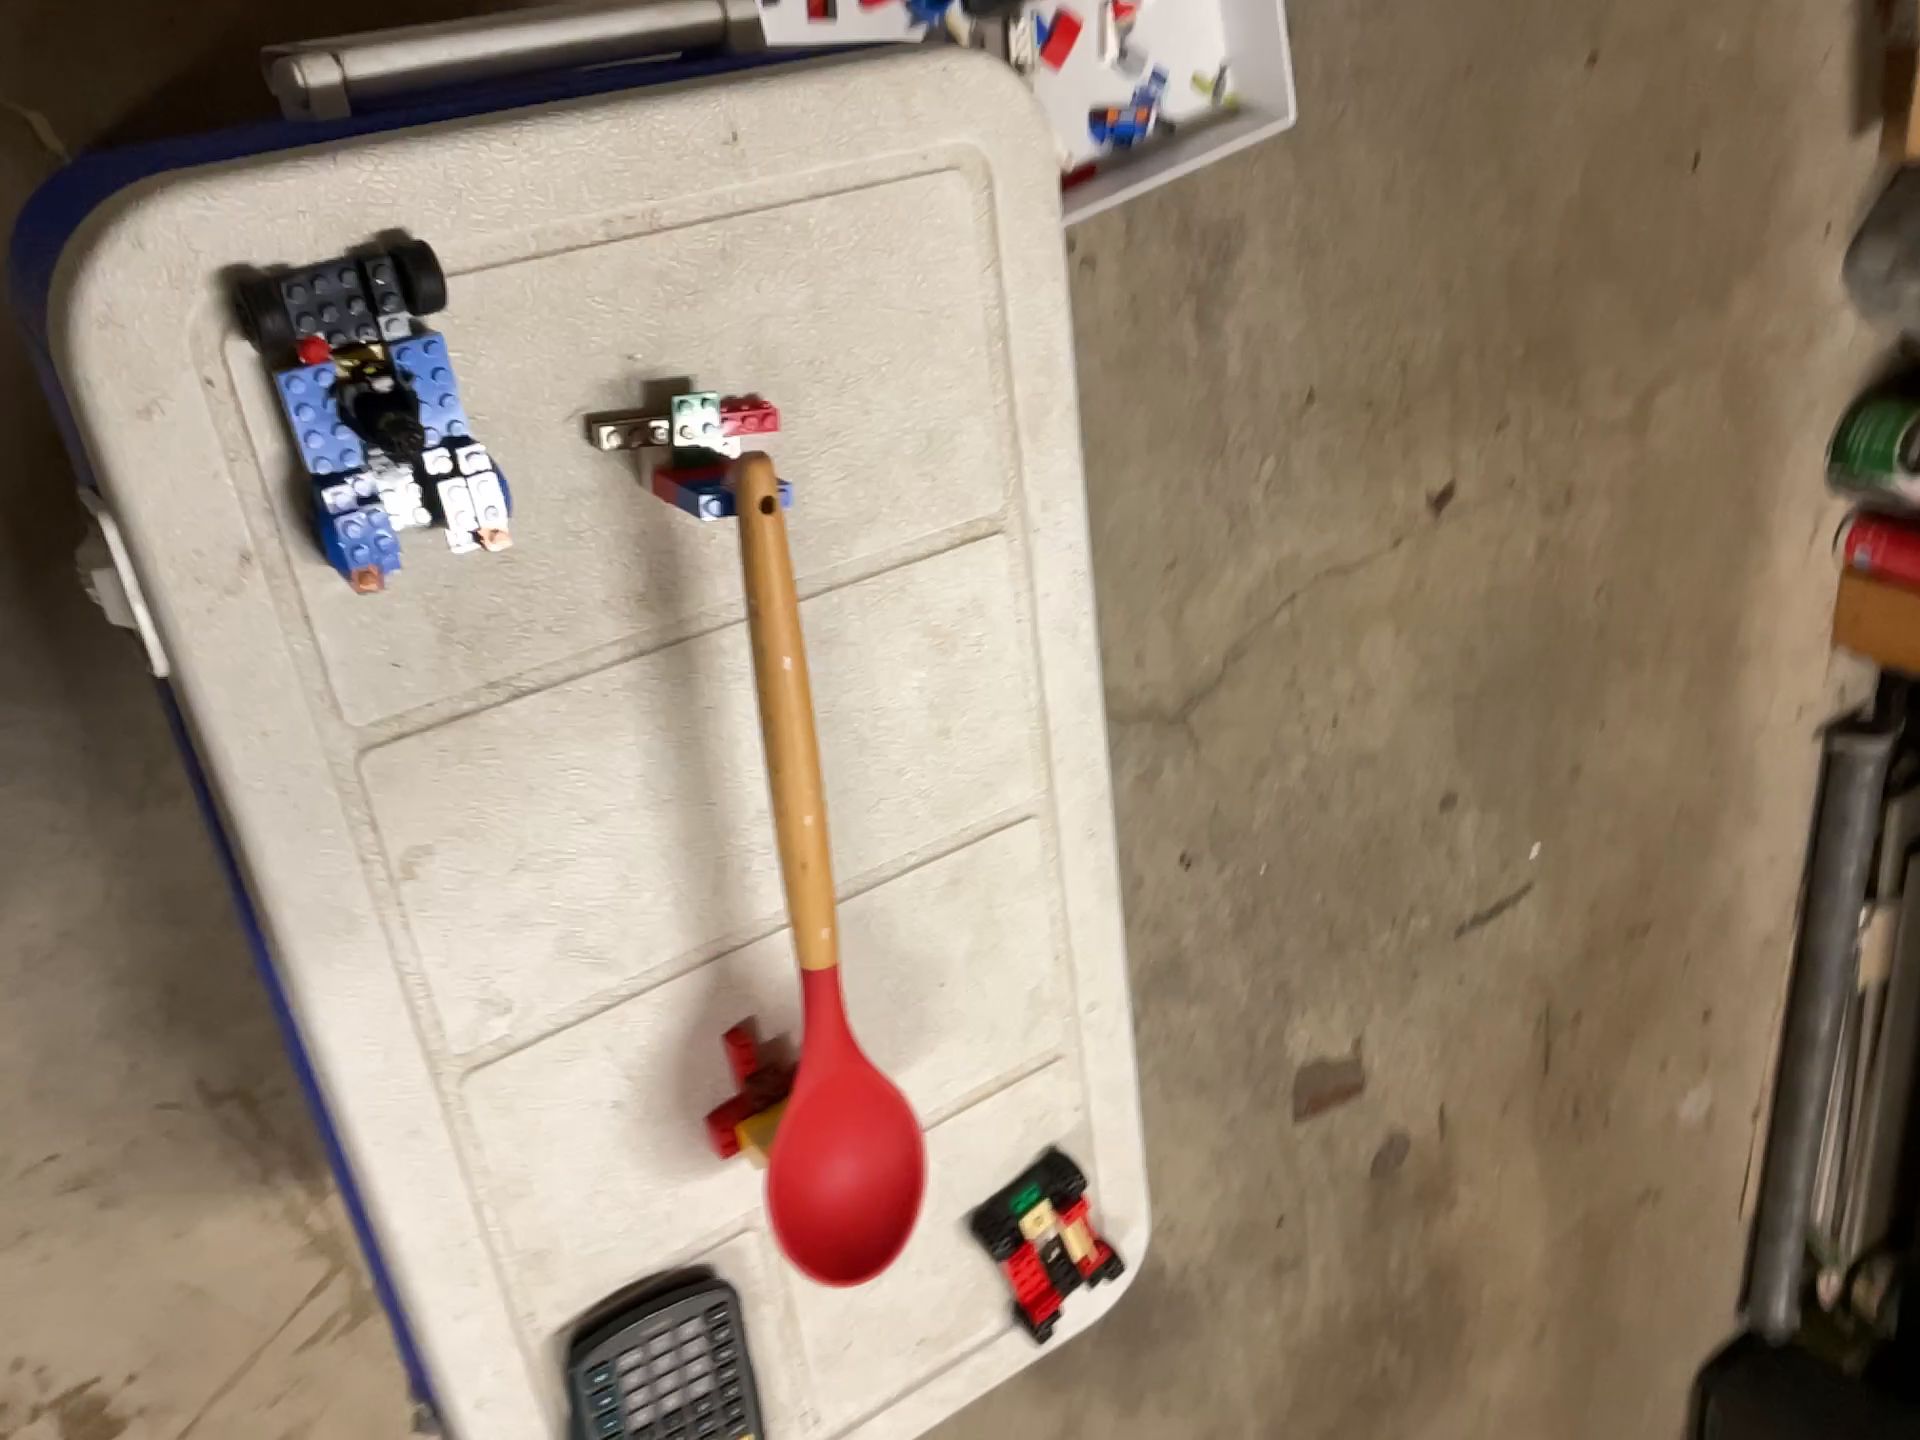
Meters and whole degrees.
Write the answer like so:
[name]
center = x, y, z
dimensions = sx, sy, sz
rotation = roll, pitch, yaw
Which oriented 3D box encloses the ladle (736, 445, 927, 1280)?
[ladle]
center = -0.053, 0.060, 0.552
dimensions = 0.069, 0.031, 0.315
rotation = -21, 119, -33
